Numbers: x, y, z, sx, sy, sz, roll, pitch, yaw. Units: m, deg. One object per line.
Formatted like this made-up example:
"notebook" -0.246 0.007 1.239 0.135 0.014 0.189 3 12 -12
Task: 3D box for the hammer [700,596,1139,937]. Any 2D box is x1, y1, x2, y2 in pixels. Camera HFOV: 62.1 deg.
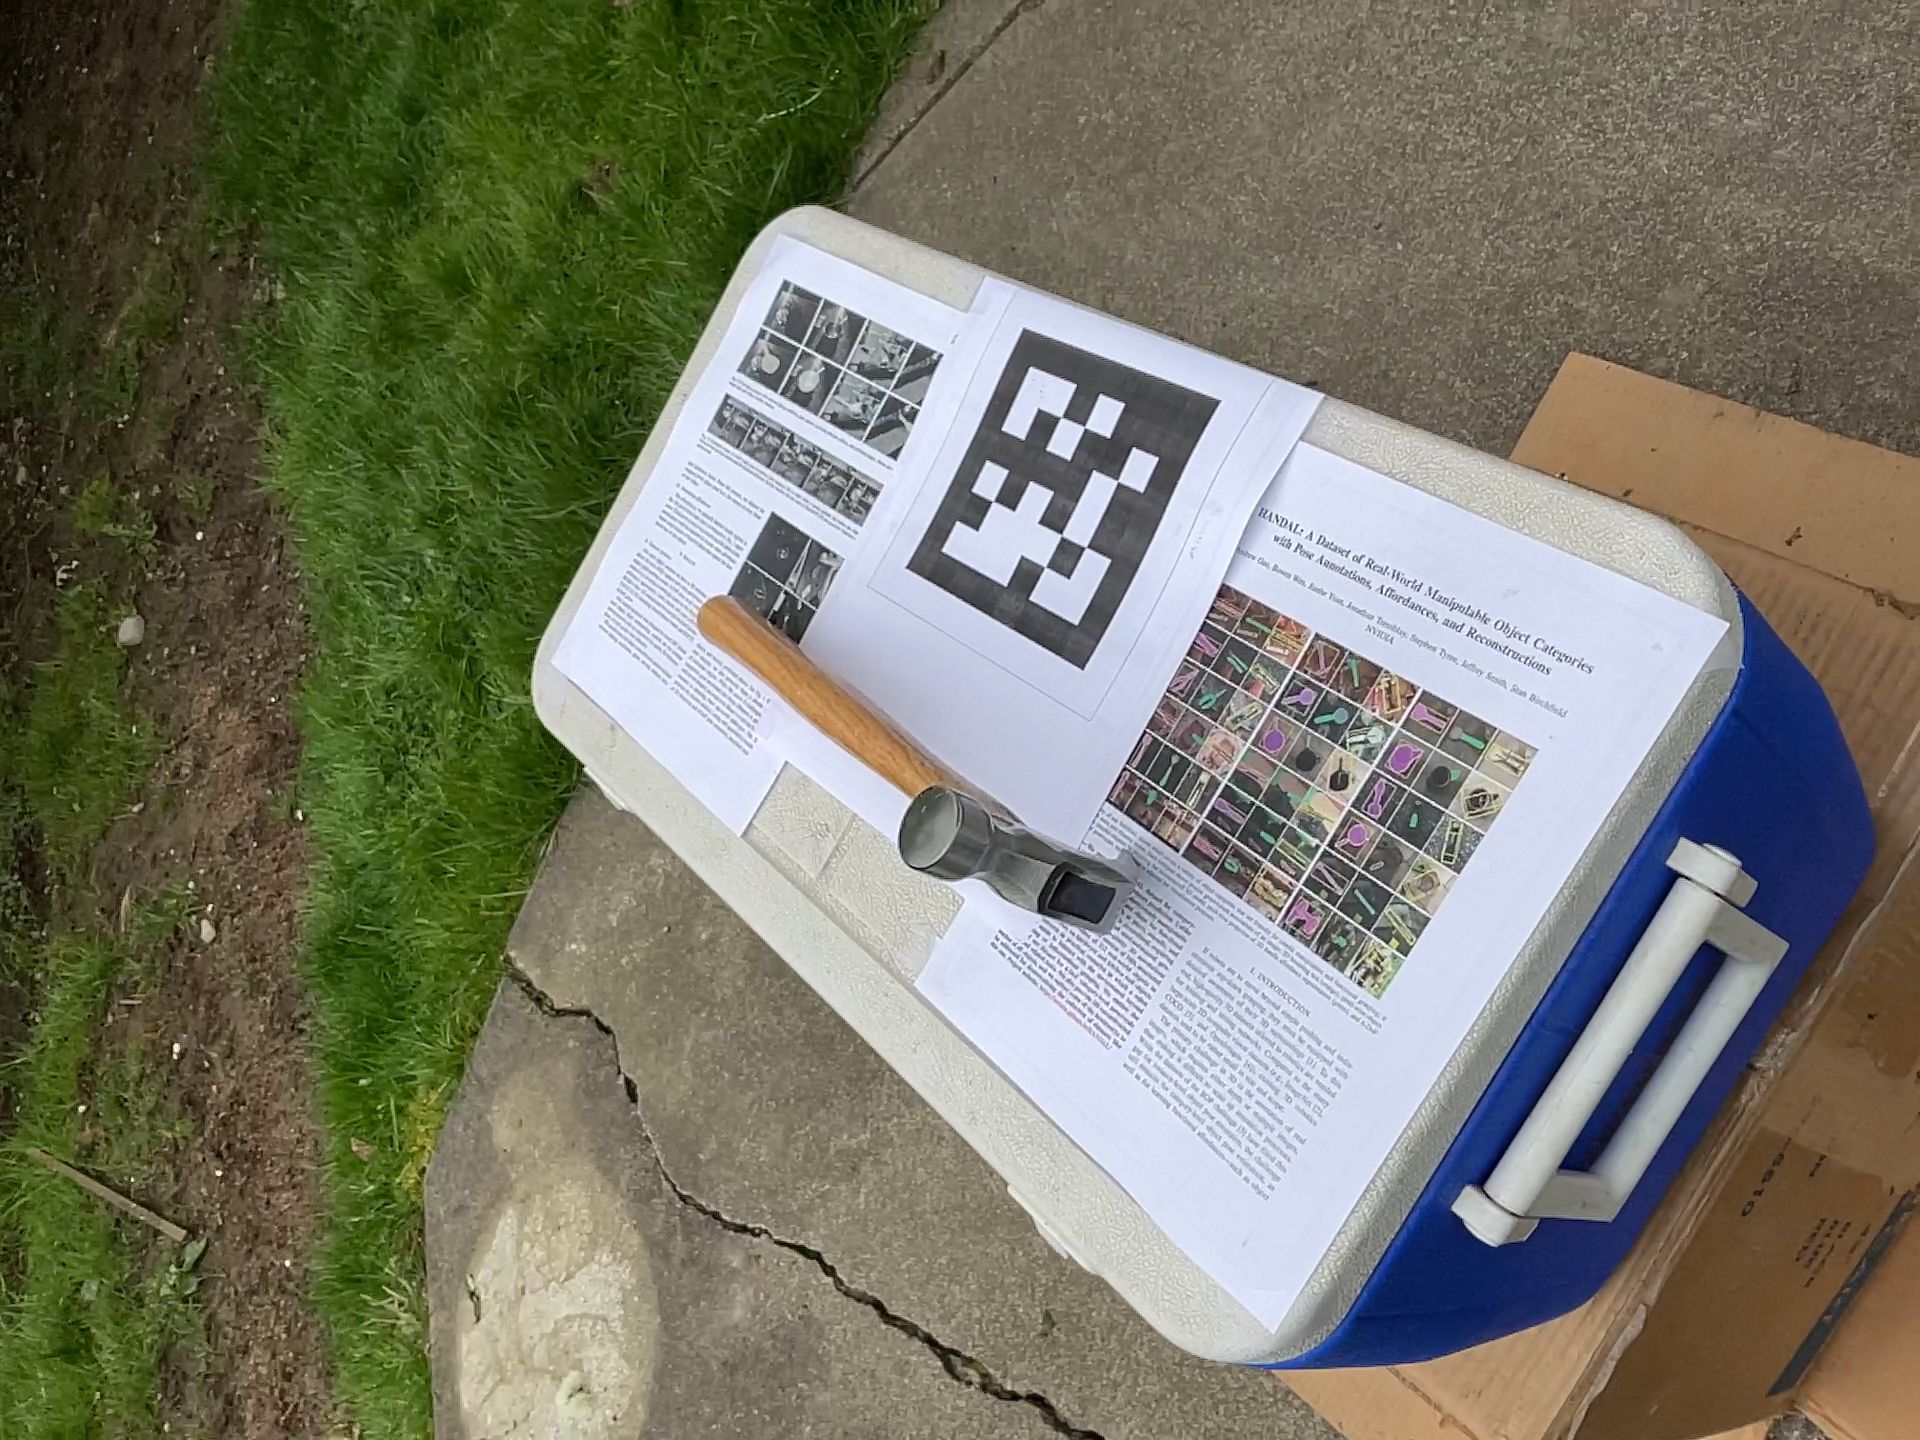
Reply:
"hammer" -0.037 0.008 0.697 0.031 0.129 0.332 -60 37 4
